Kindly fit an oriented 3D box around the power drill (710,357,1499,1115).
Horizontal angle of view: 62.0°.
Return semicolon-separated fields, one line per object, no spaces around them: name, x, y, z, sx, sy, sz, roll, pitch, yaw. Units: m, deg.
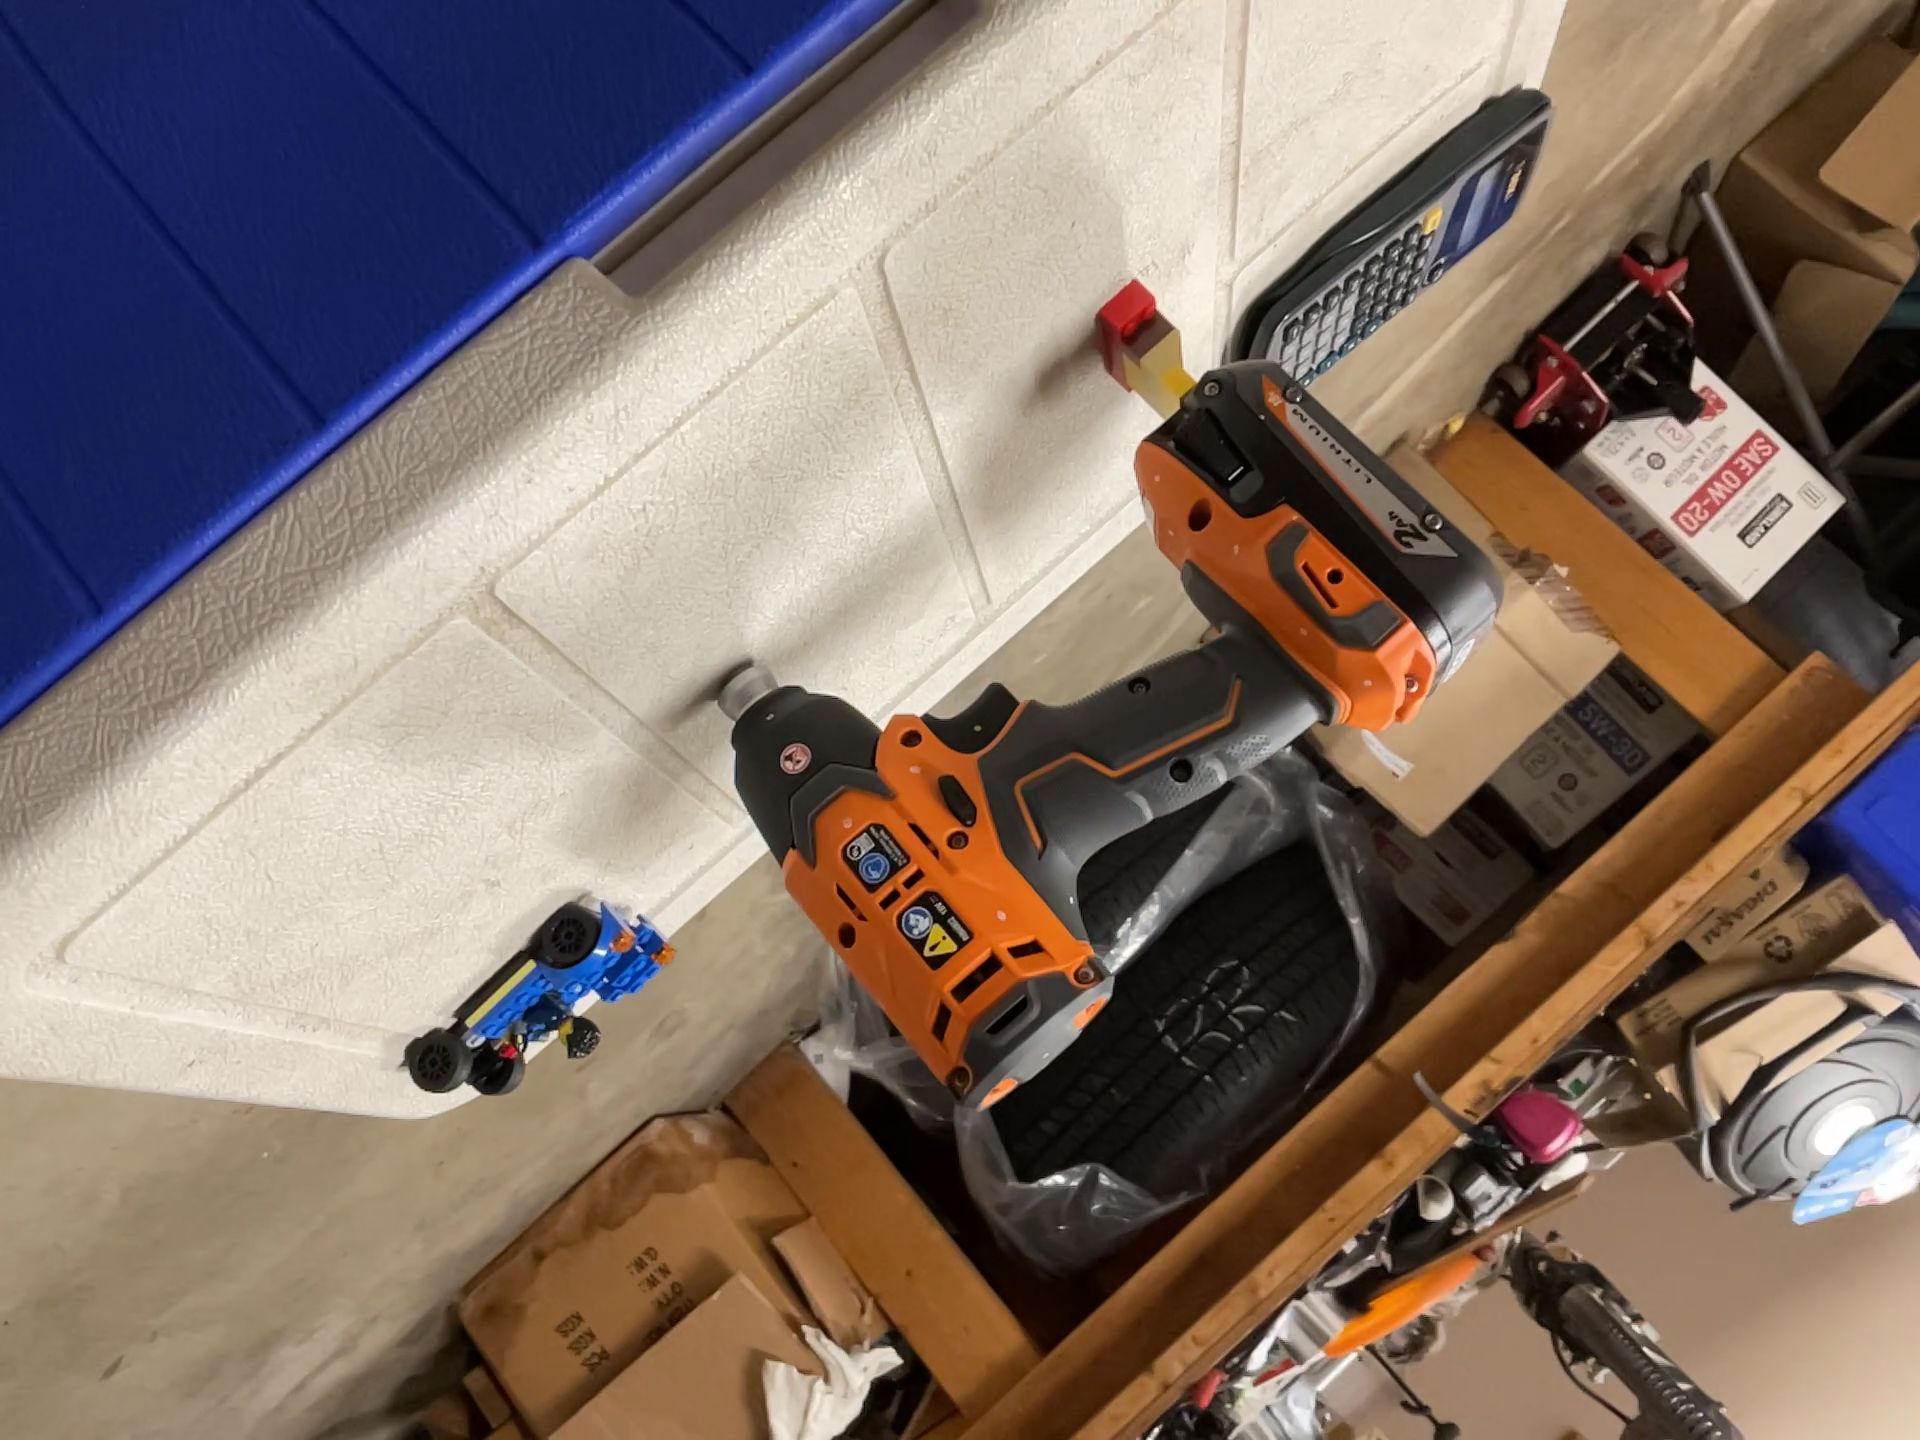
power drill;0.036;-0.009;0.513;0.226;0.164;0.084;-41;163;-4
